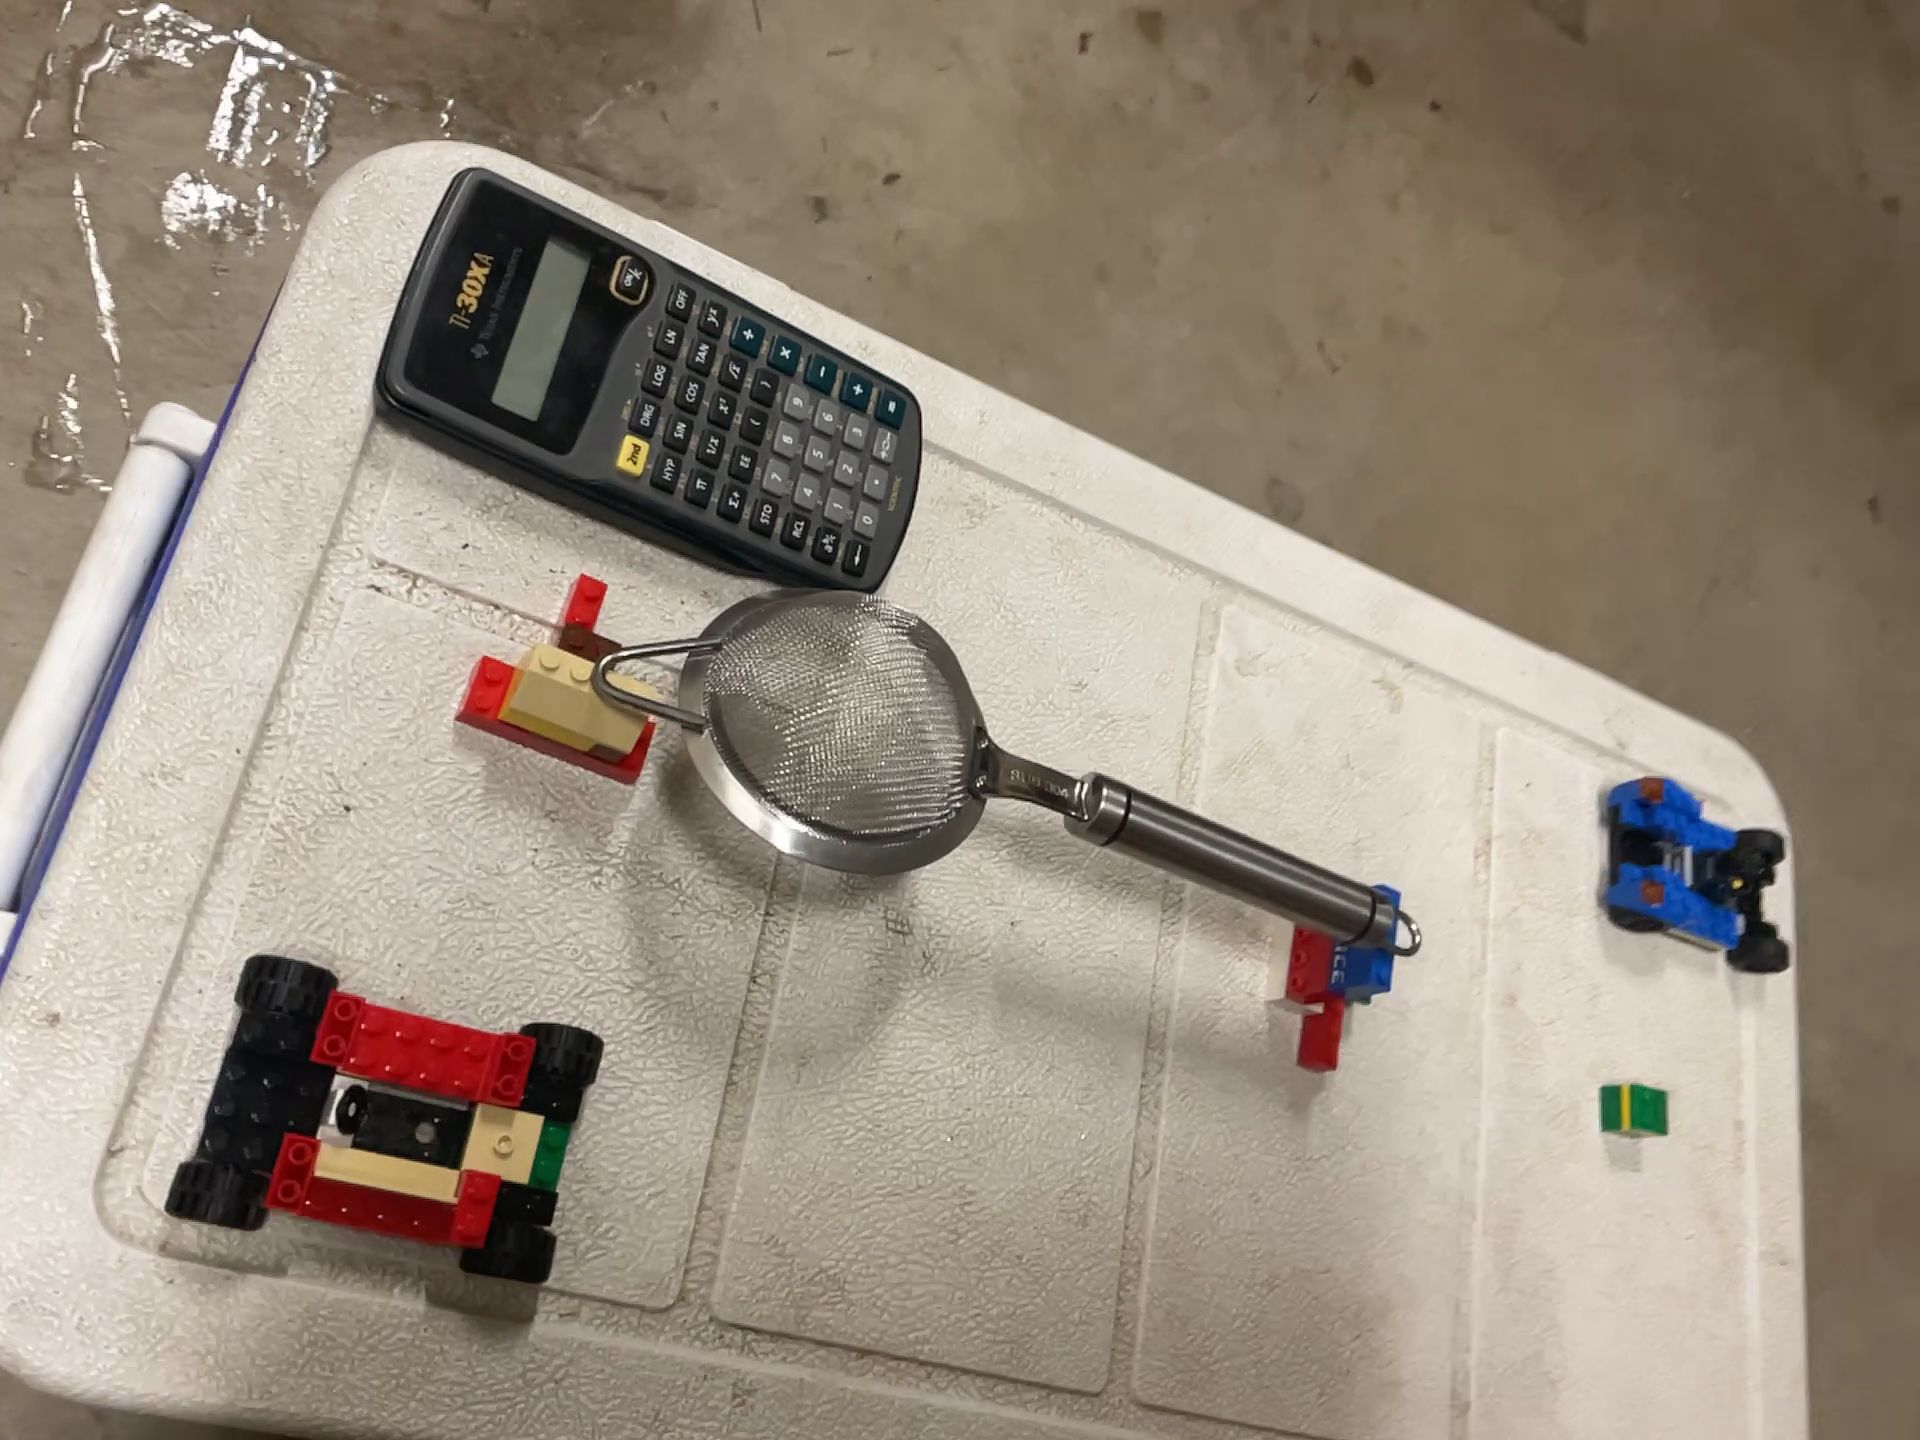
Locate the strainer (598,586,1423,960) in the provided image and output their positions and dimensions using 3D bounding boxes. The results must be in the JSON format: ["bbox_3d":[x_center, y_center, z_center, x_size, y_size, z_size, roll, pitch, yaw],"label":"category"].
[{"bbox_3d":[0.032,0.020,0.430,0.258,0.050,0.087,23,48,-25],"label":"strainer"}]
